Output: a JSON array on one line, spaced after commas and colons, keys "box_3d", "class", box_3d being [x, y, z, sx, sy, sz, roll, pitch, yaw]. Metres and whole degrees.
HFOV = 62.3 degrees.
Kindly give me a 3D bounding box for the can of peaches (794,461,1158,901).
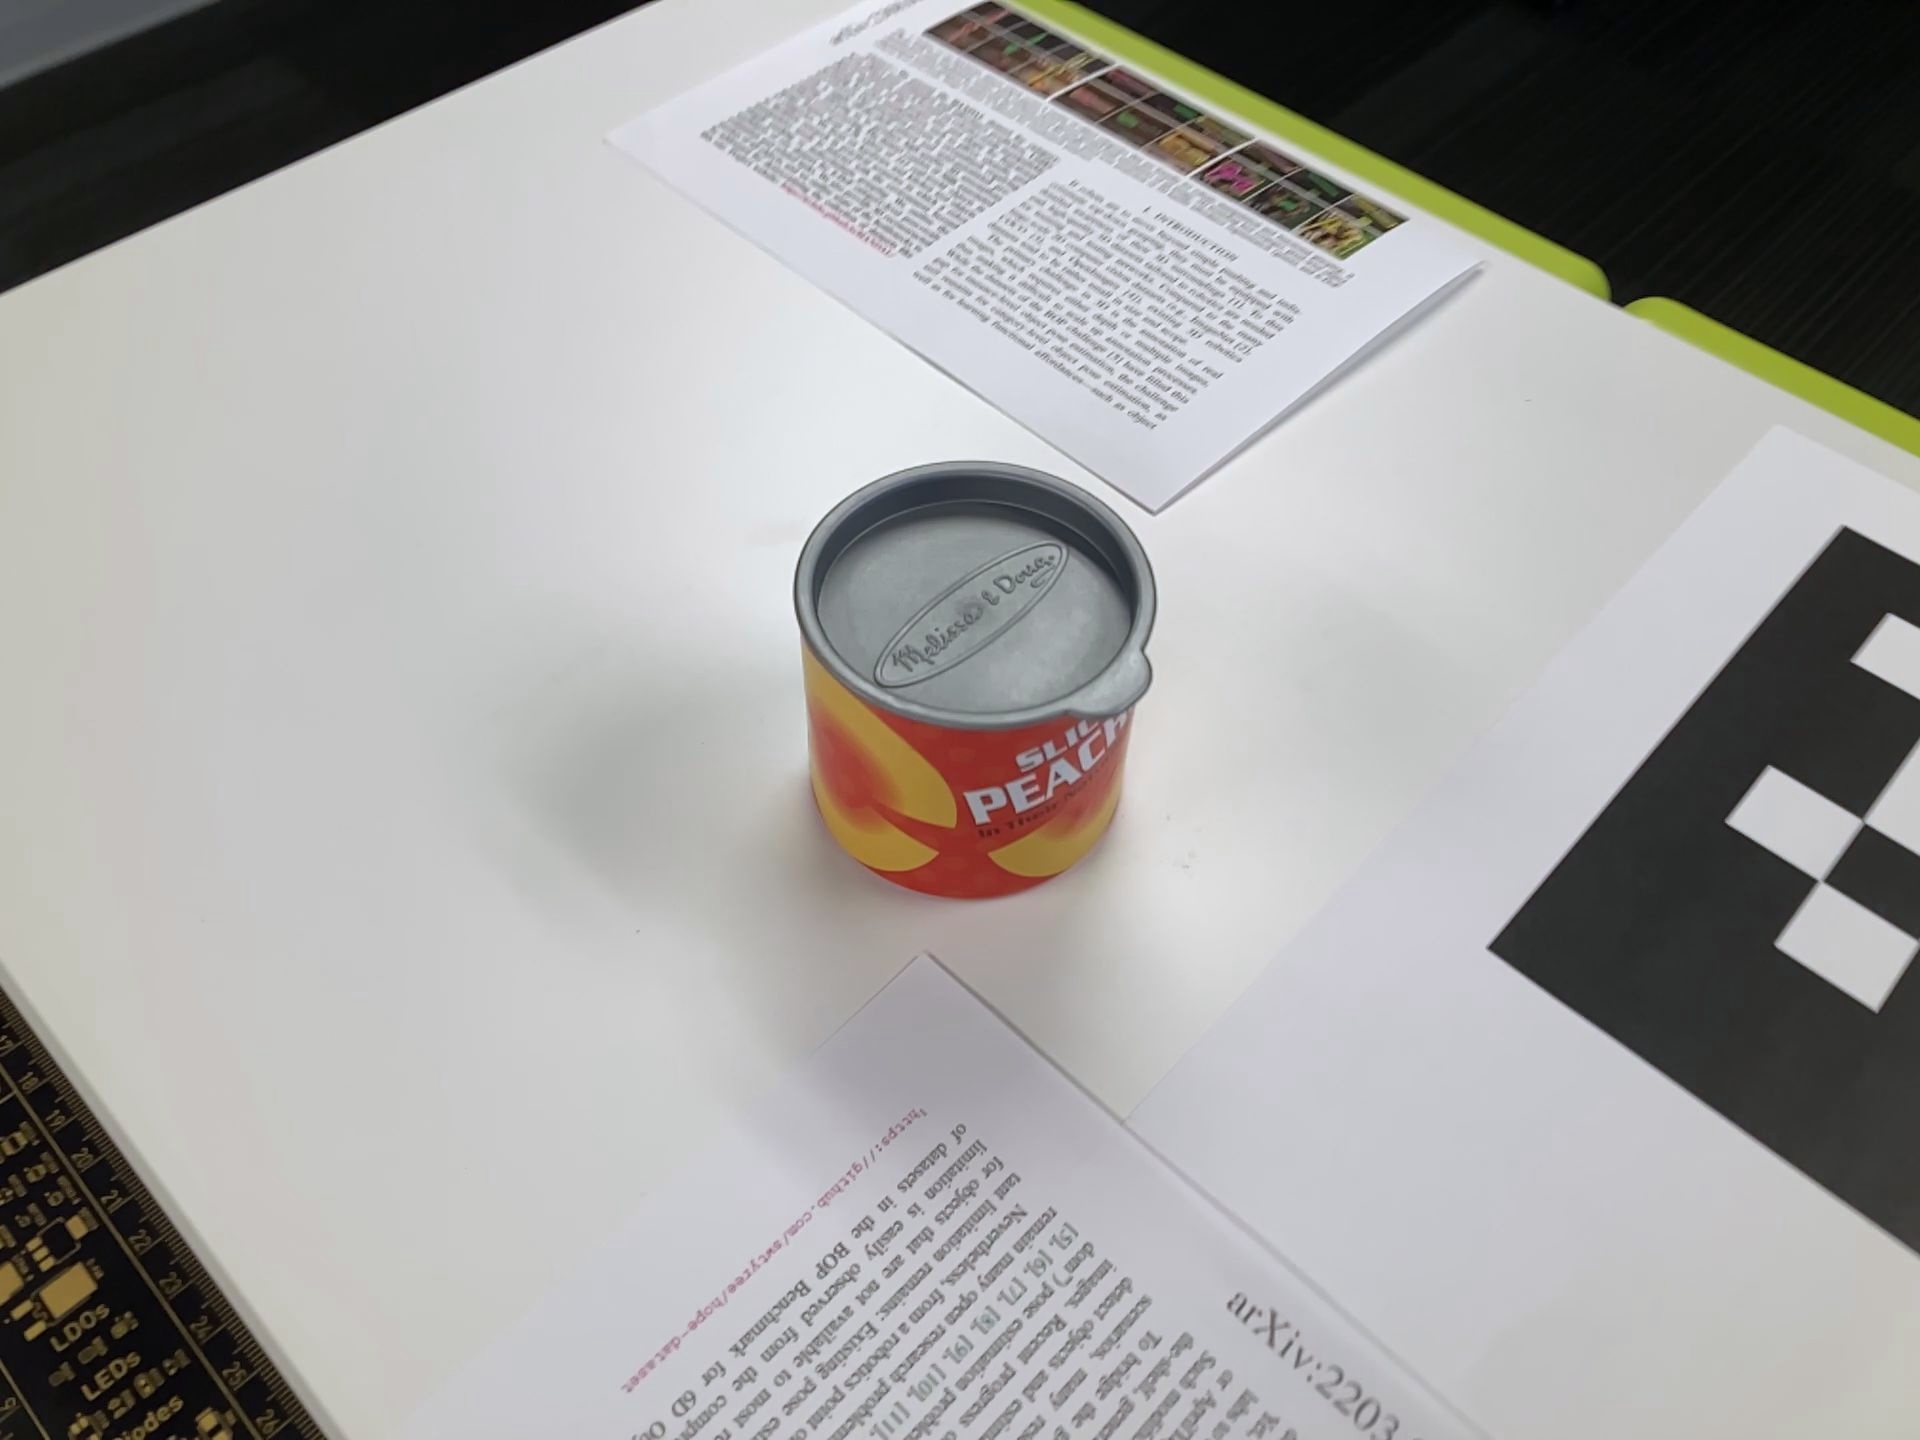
[{"box_3d": [0.004, -0.006, 0.309, 0.071, 0.058, 0.071, 1, 52, -2], "class": "can of peaches"}]
